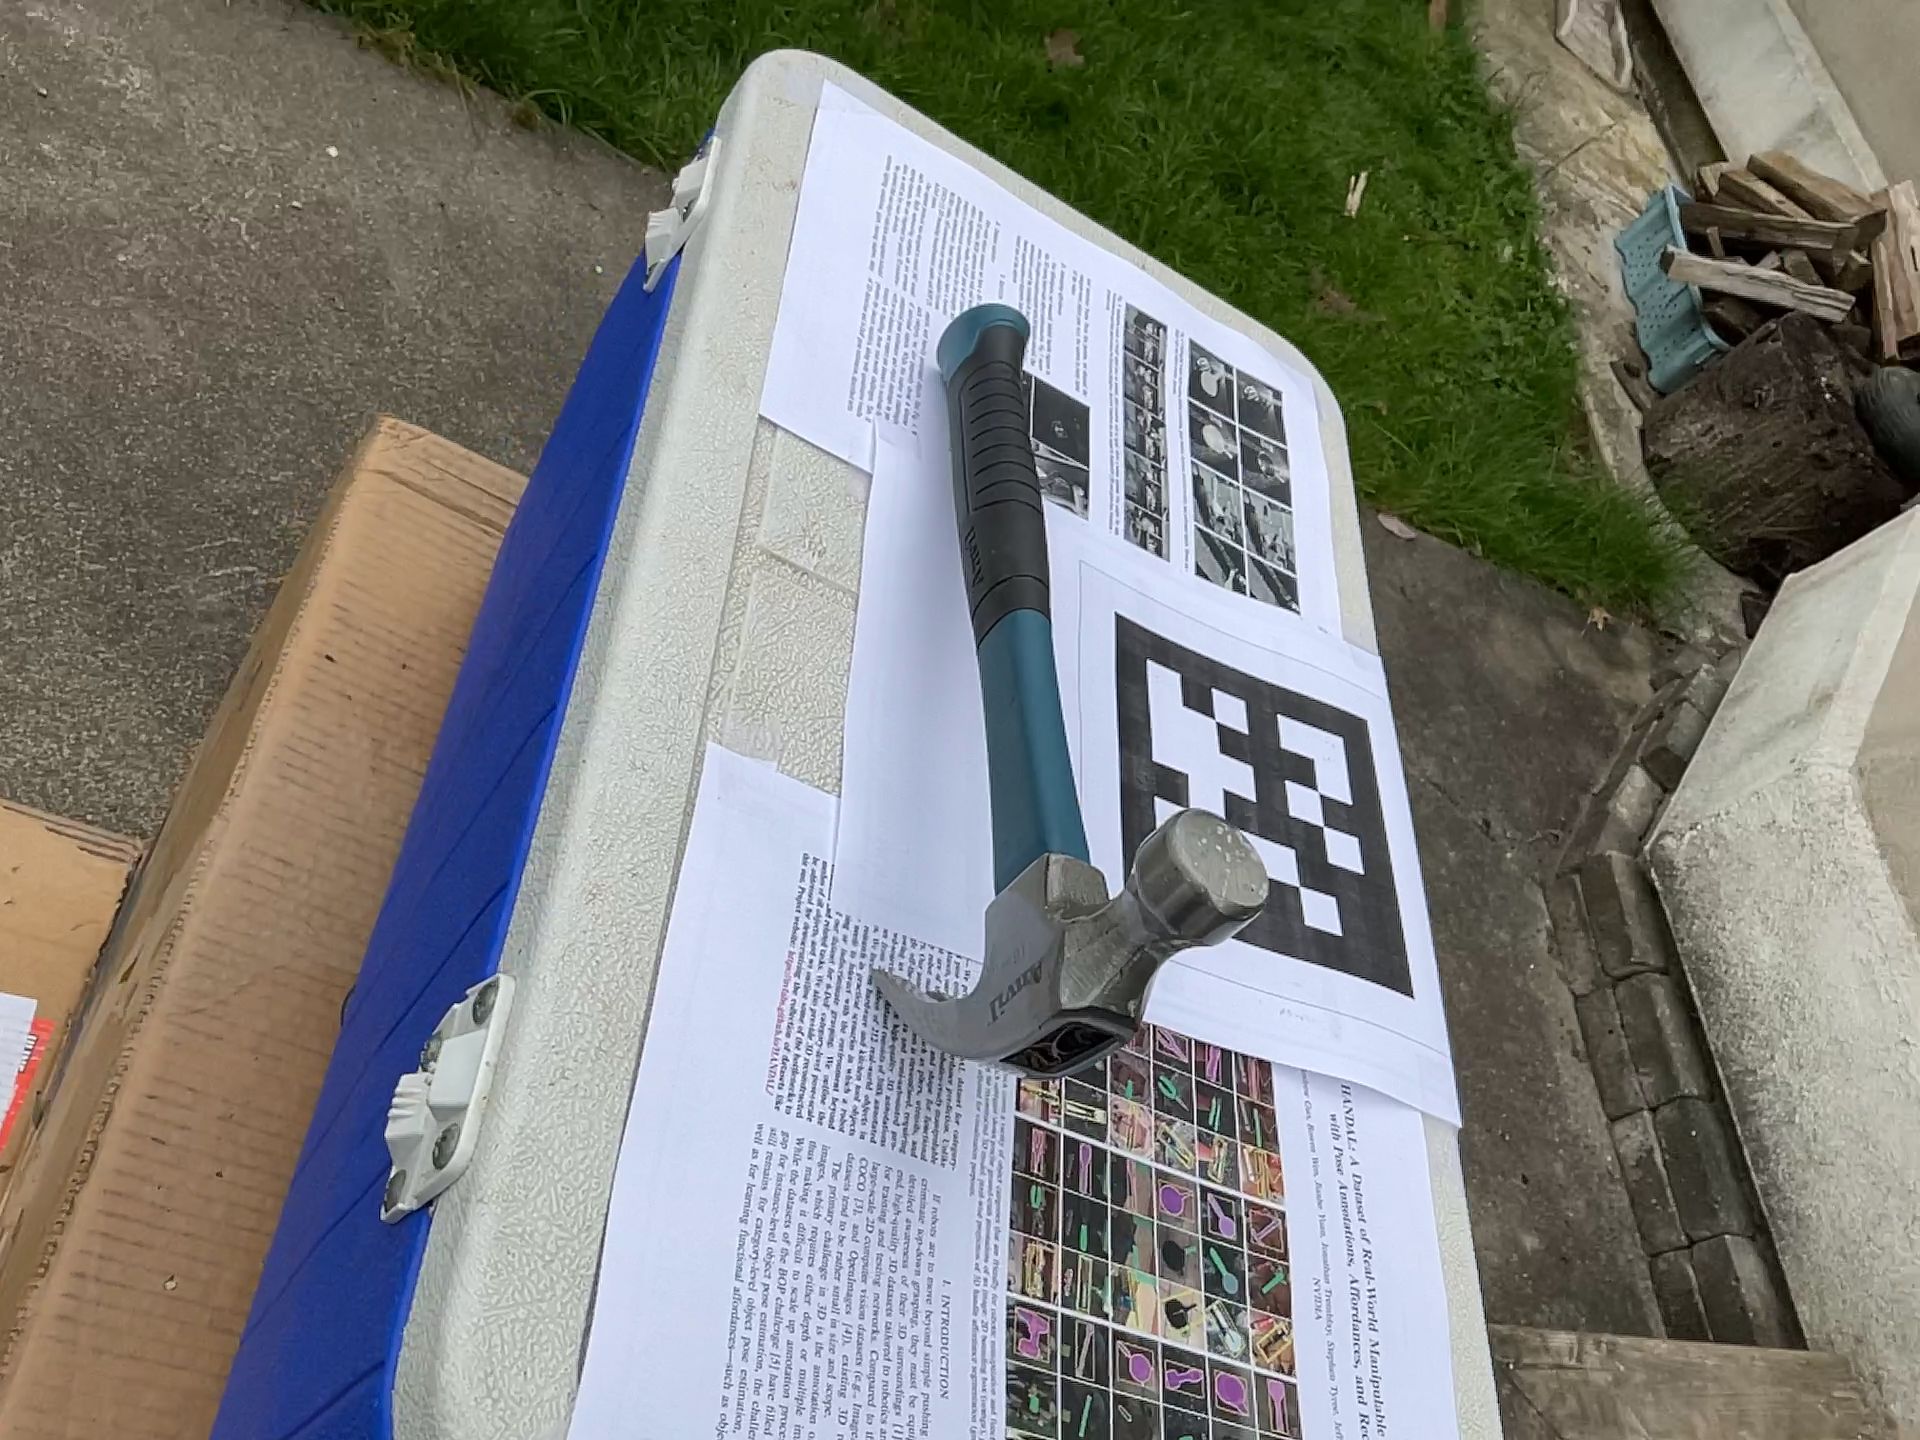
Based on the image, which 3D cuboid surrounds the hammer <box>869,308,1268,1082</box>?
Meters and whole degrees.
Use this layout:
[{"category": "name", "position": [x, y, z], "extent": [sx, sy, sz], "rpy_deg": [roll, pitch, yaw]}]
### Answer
[{"category": "hammer", "position": [0.017, -0.034, 0.509], "extent": [0.033, 0.128, 0.331], "rpy_deg": [24, 38, -25]}]
